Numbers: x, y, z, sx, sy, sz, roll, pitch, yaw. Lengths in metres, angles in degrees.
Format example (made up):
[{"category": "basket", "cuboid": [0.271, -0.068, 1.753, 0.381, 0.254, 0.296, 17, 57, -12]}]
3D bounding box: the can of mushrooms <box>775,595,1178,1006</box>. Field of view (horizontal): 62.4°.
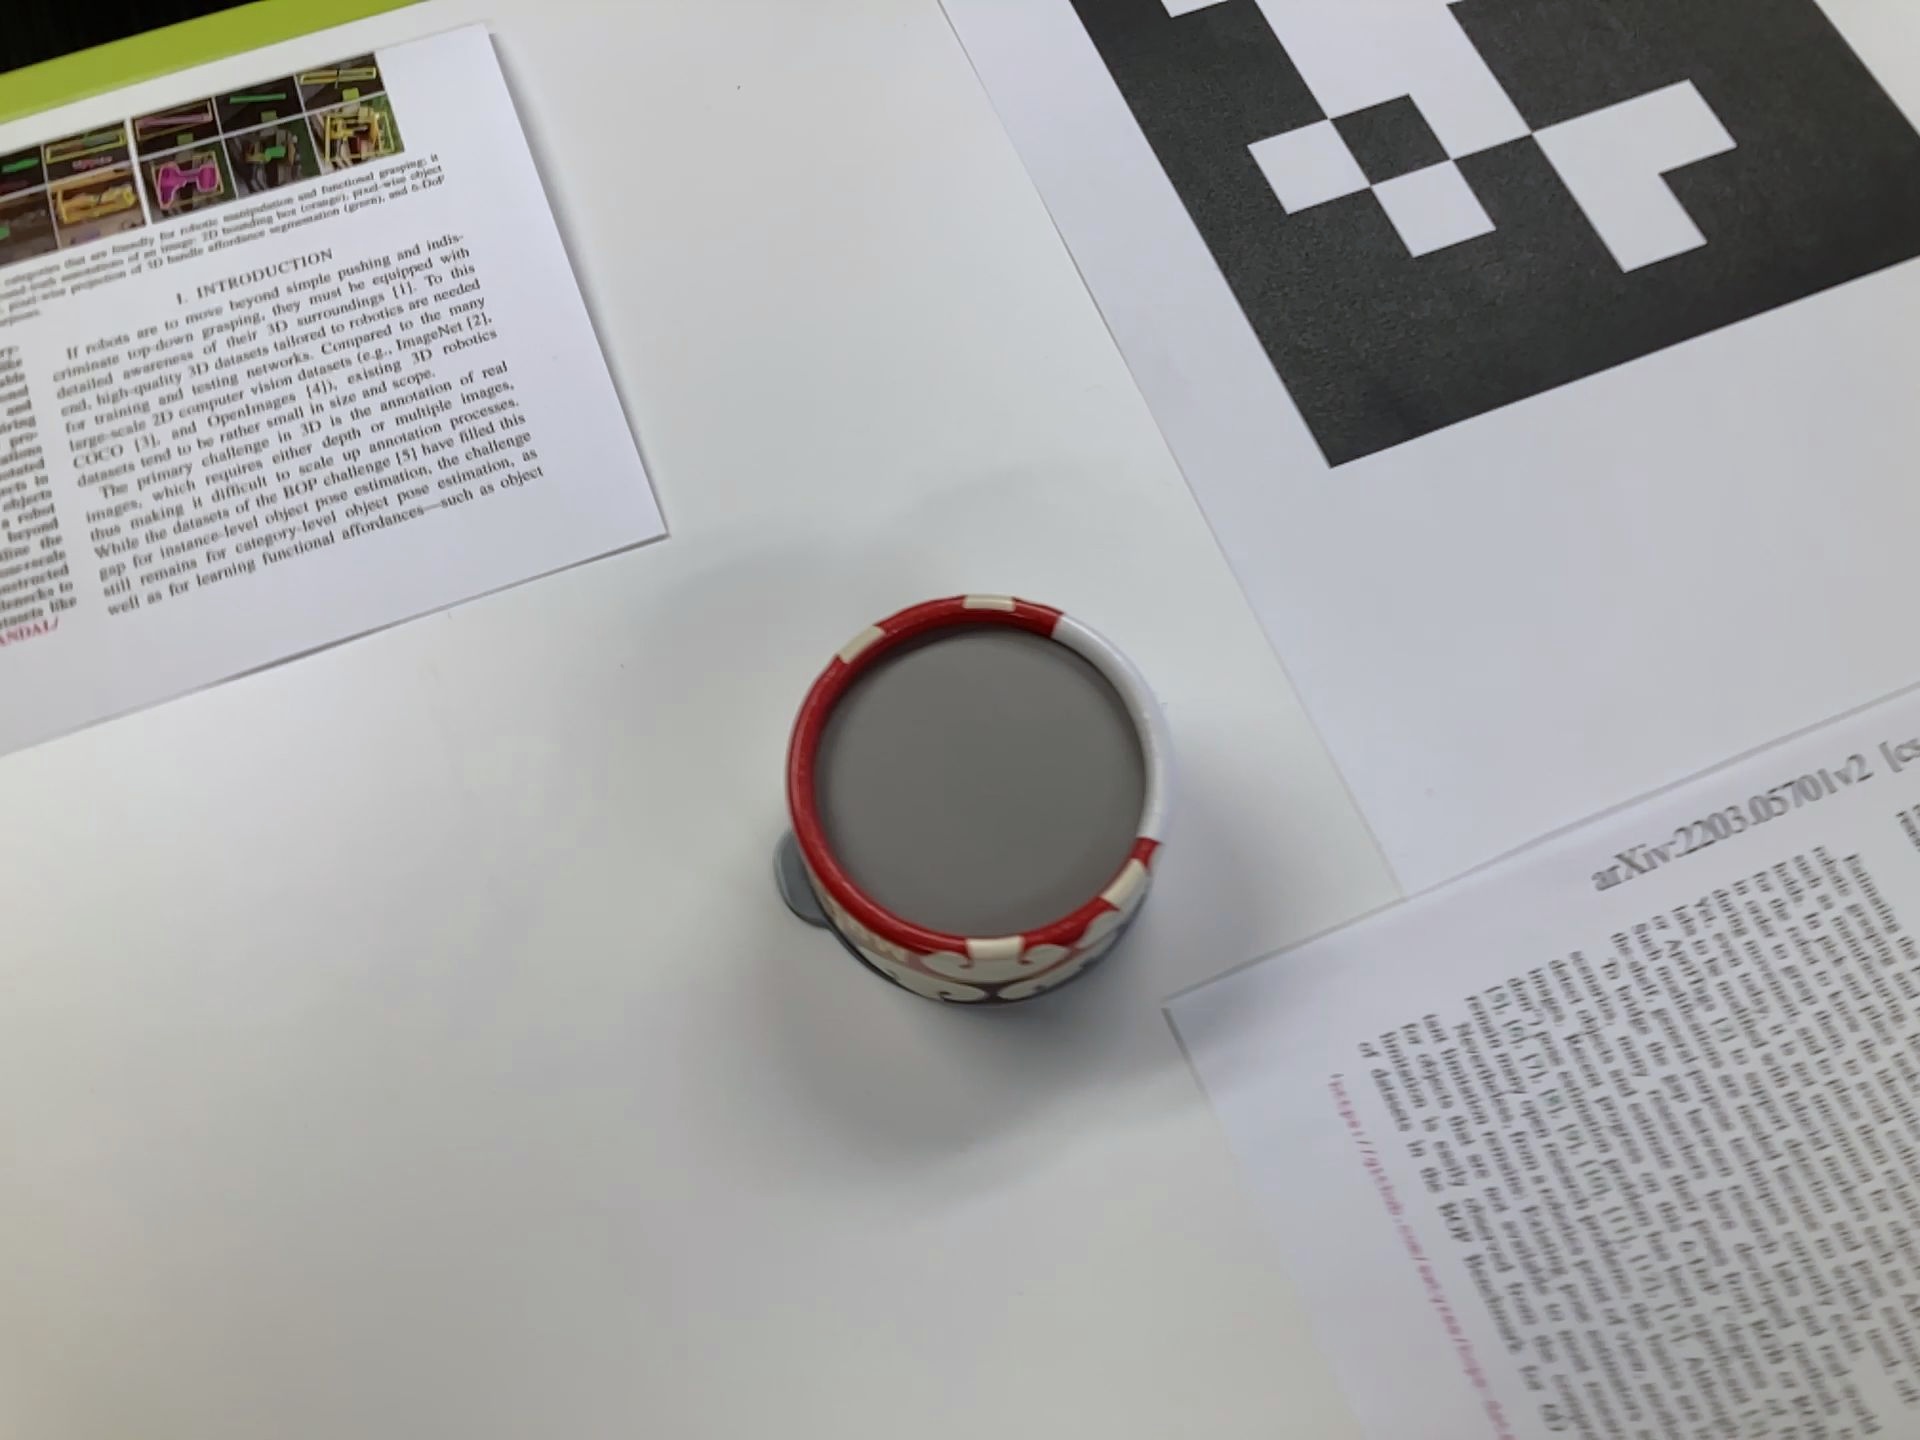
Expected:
[{"category": "can of mushrooms", "cuboid": [0.001, 0.015, 0.274, 0.071, 0.033, 0.071, 0, 69, 0]}]
